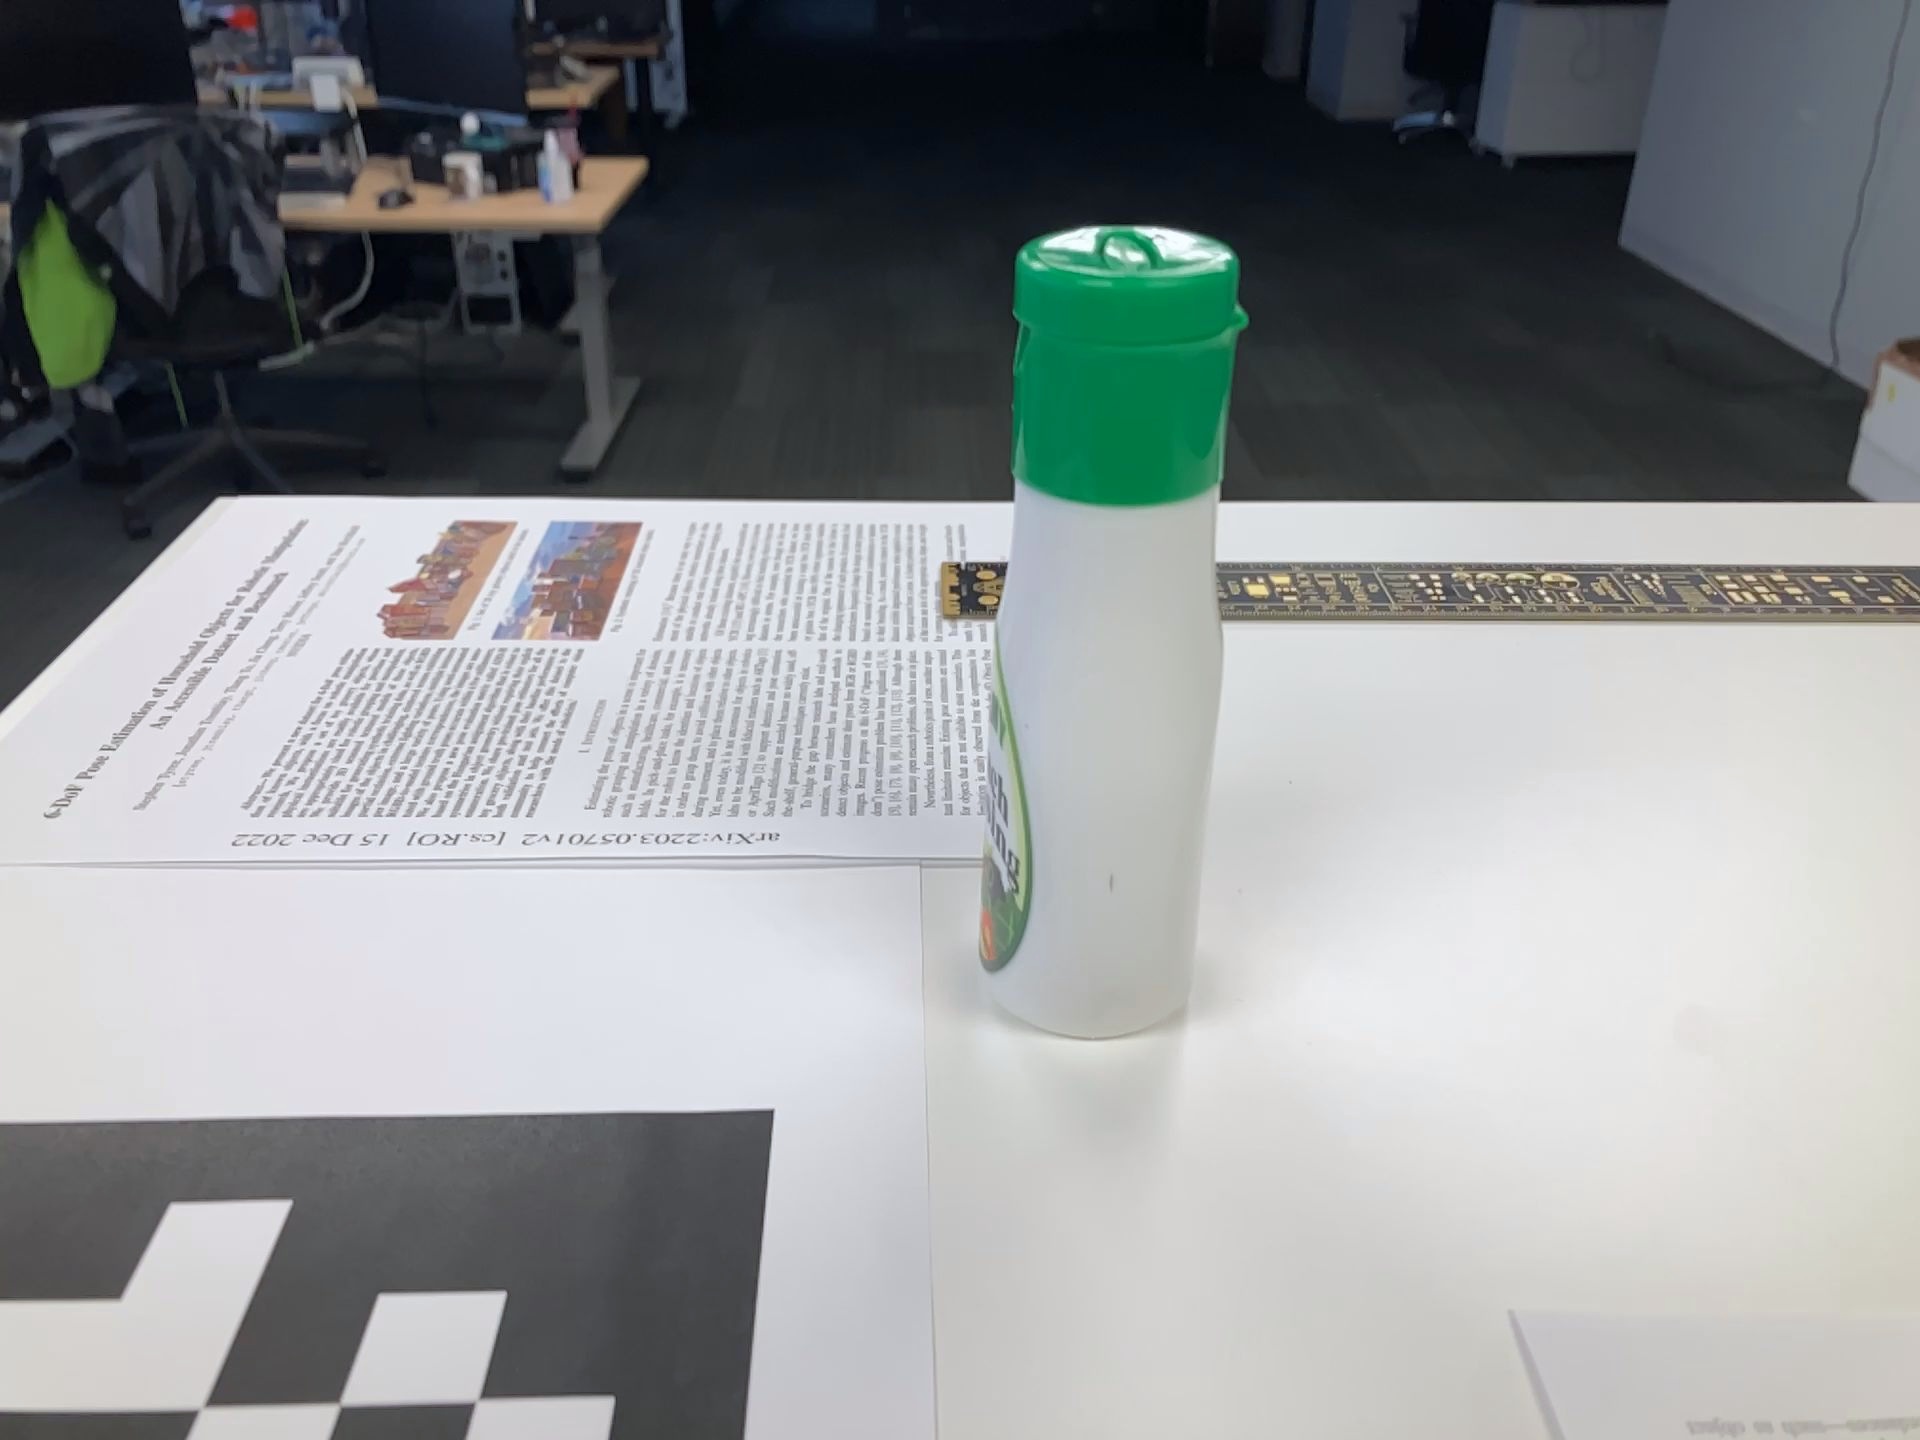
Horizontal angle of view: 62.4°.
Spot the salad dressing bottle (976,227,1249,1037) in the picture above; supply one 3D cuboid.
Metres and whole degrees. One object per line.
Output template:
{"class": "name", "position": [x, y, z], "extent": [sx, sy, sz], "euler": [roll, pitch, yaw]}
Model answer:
{"class": "salad dressing bottle", "position": [0.026, -0.012, 0.292], "extent": [0.044, 0.147, 0.064], "euler": [0, 29, -2]}
